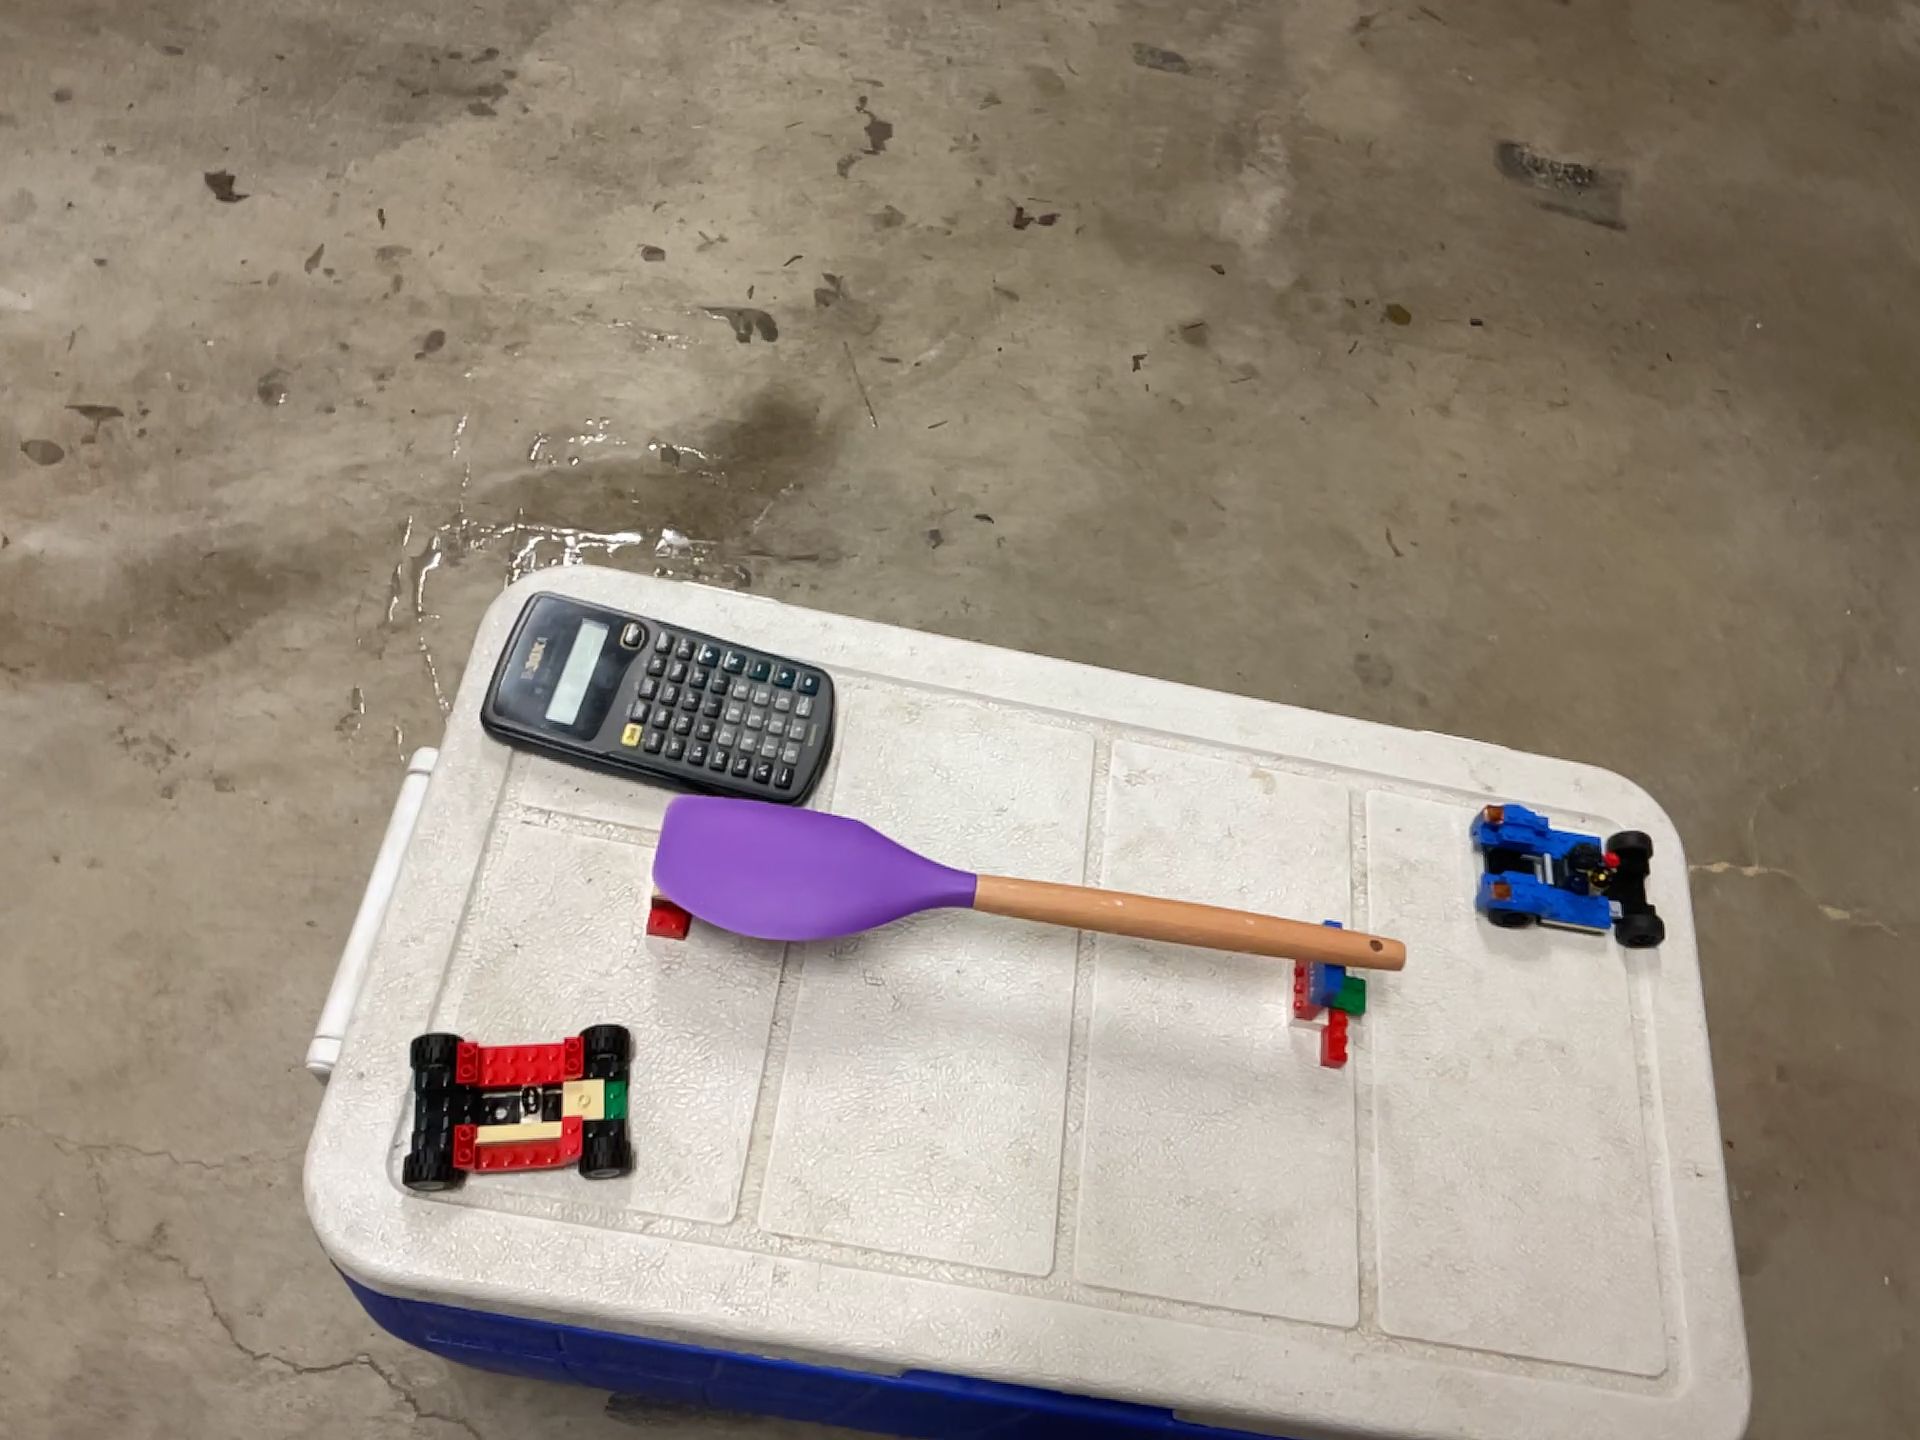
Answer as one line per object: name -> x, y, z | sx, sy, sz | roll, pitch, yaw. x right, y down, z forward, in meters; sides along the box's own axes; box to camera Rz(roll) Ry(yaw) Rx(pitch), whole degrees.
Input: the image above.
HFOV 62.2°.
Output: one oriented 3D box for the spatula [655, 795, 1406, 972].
spatula -> 0.032, 0.078, 0.665 | 0.316, 0.018, 0.060 | 9, 59, -5
